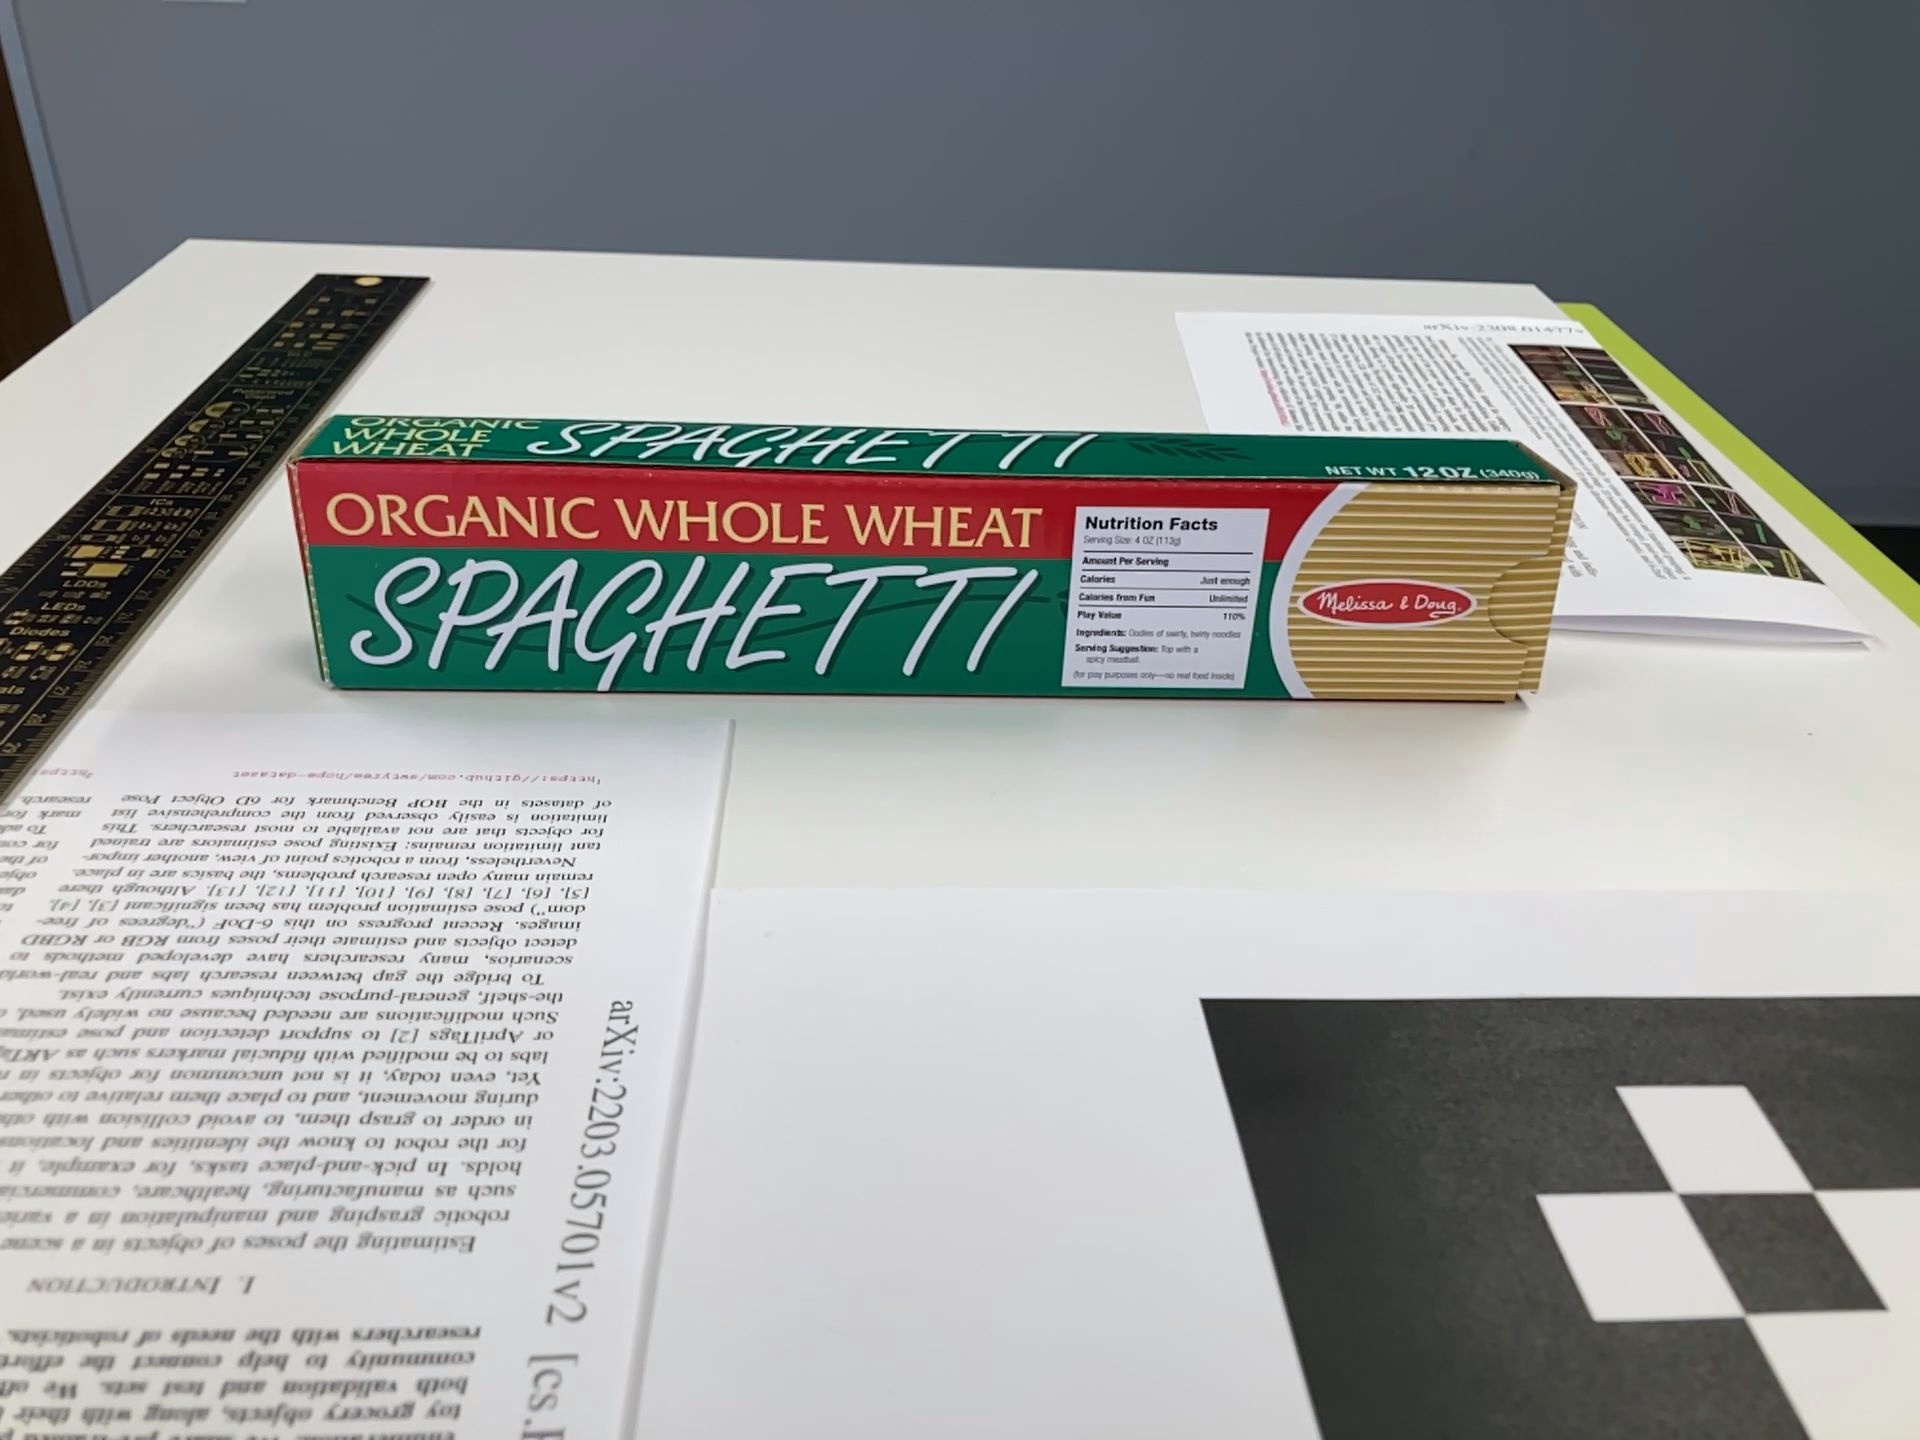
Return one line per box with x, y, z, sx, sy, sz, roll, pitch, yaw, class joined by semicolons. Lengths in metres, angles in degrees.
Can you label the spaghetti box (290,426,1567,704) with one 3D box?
-0.005;-0.032;0.328;0.250;0.050;0.028;0;28;-4;spaghetti box
